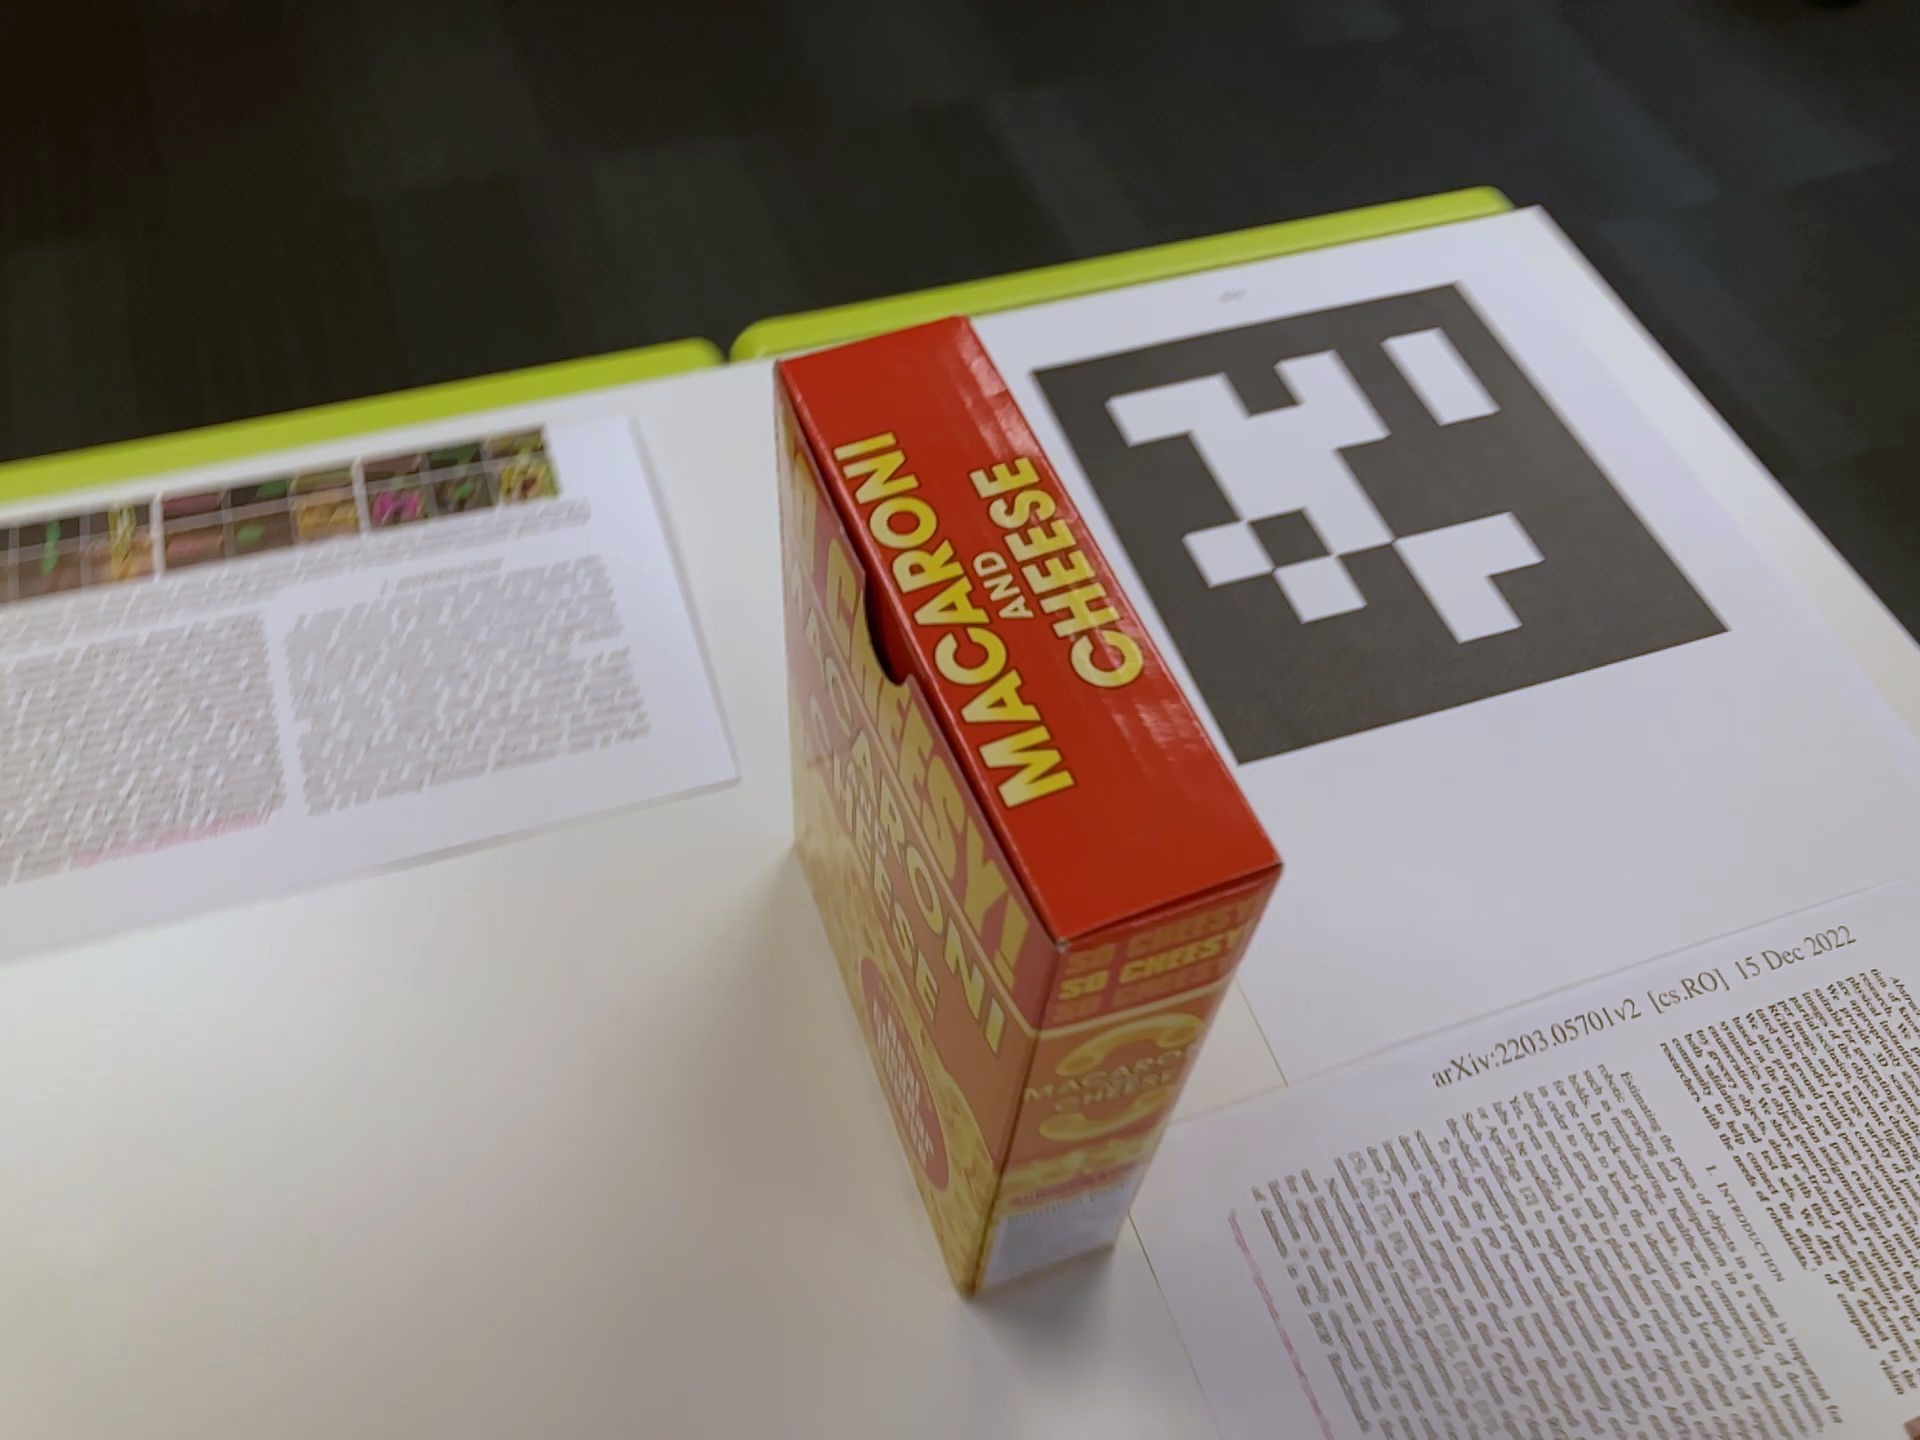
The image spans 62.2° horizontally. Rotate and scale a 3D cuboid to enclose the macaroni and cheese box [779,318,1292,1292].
[{"bbox_3d":[0.001,0.027,0.316,0.040,0.166,0.124,-17,58,-15],"label":"macaroni and cheese box"}]
